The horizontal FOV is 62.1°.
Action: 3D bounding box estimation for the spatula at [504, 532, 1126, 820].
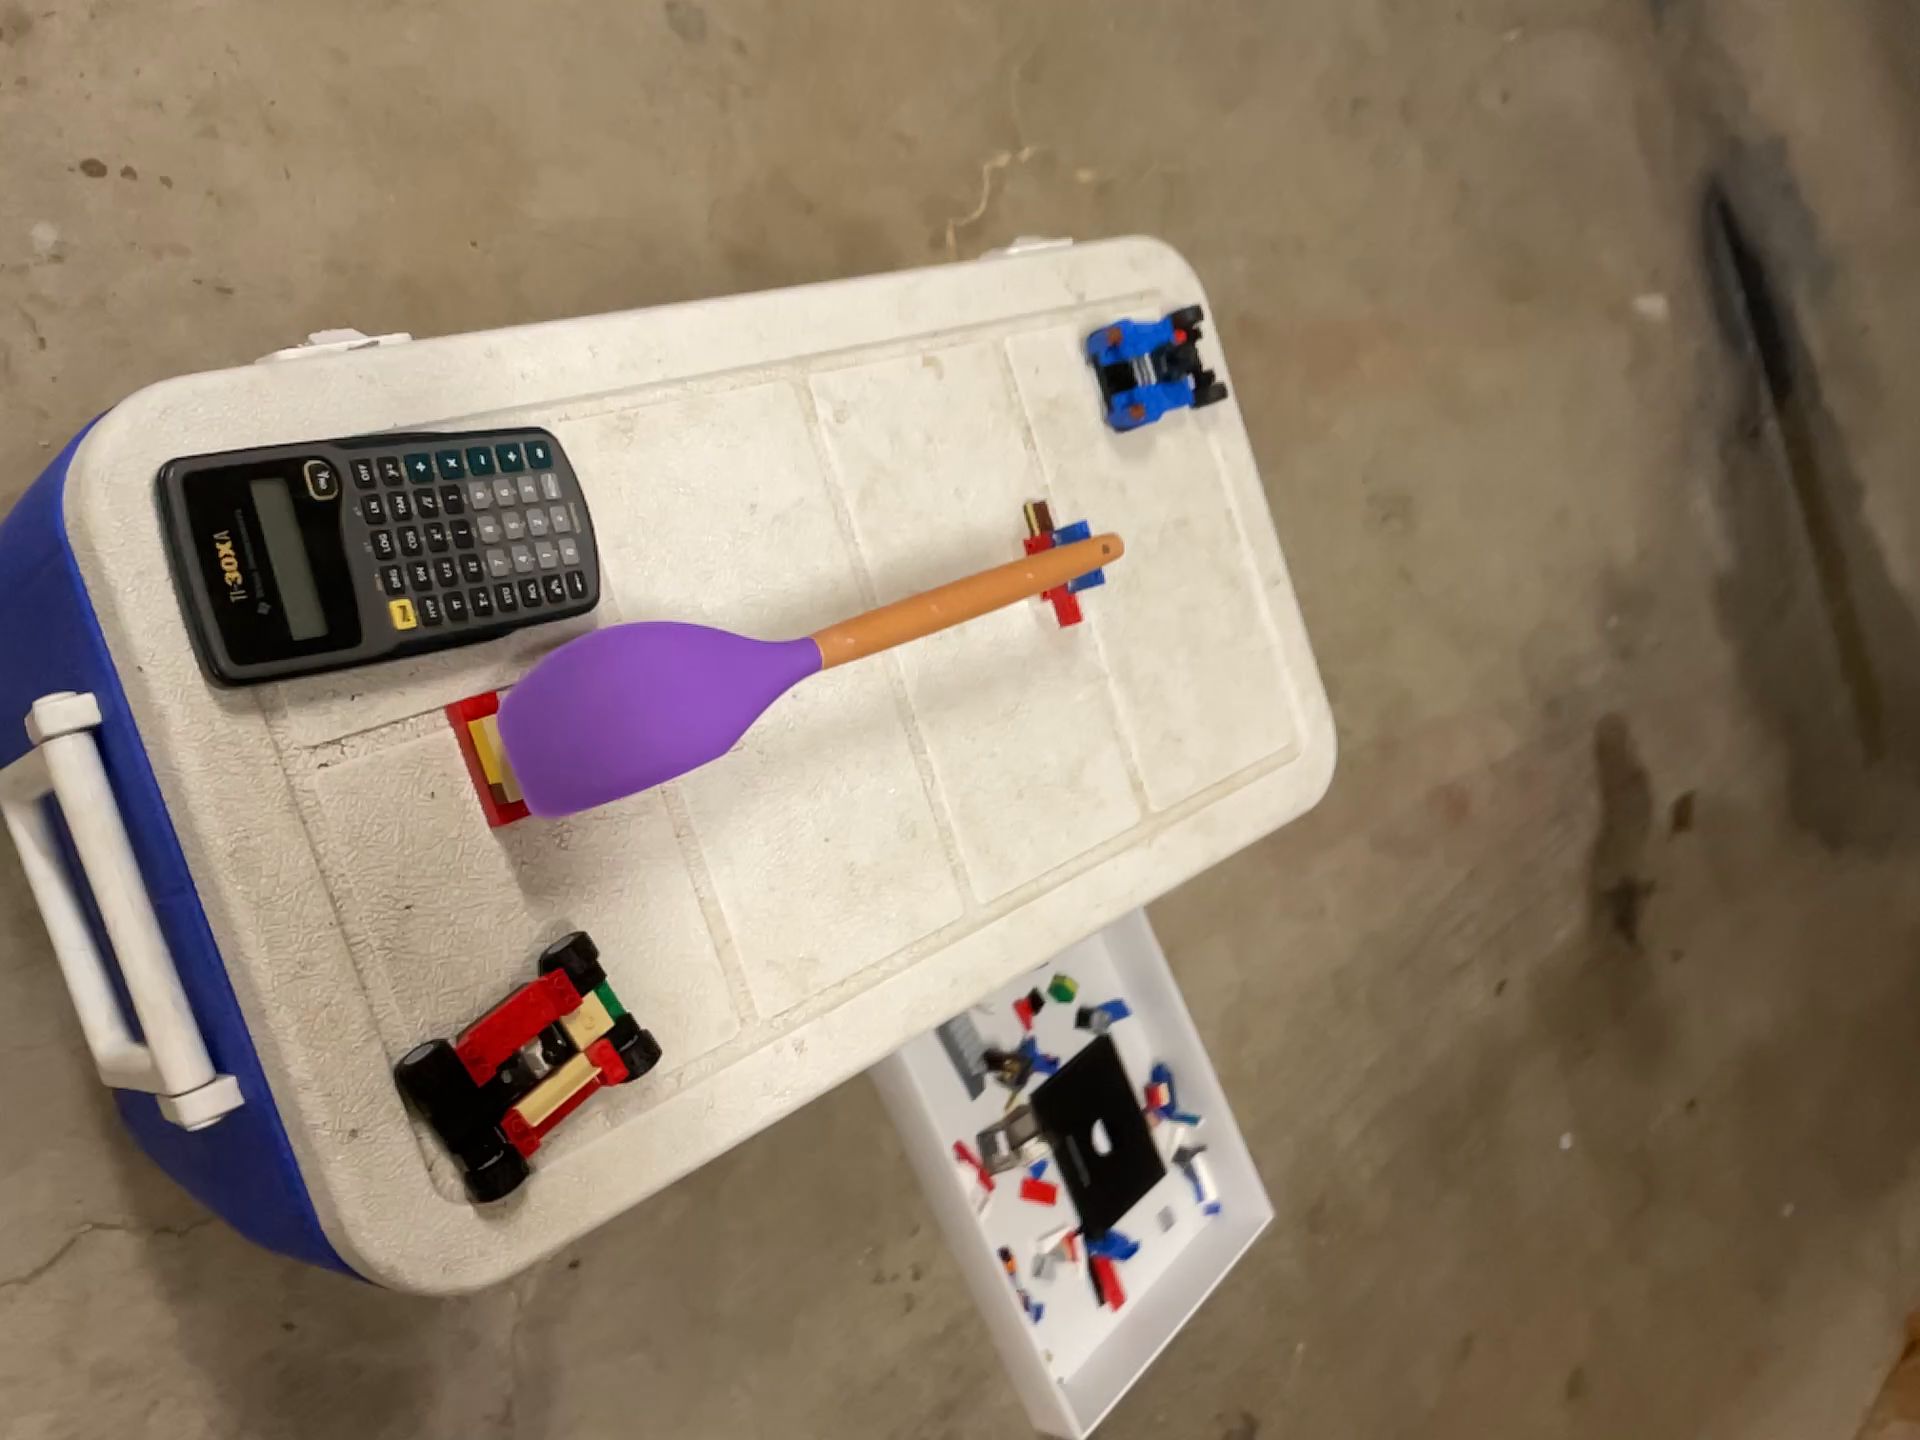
[{"bbox_3d":[-0.040,-0.036,0.650,0.316,0.018,0.060,-22,97,-39],"label":"spatula"}]
